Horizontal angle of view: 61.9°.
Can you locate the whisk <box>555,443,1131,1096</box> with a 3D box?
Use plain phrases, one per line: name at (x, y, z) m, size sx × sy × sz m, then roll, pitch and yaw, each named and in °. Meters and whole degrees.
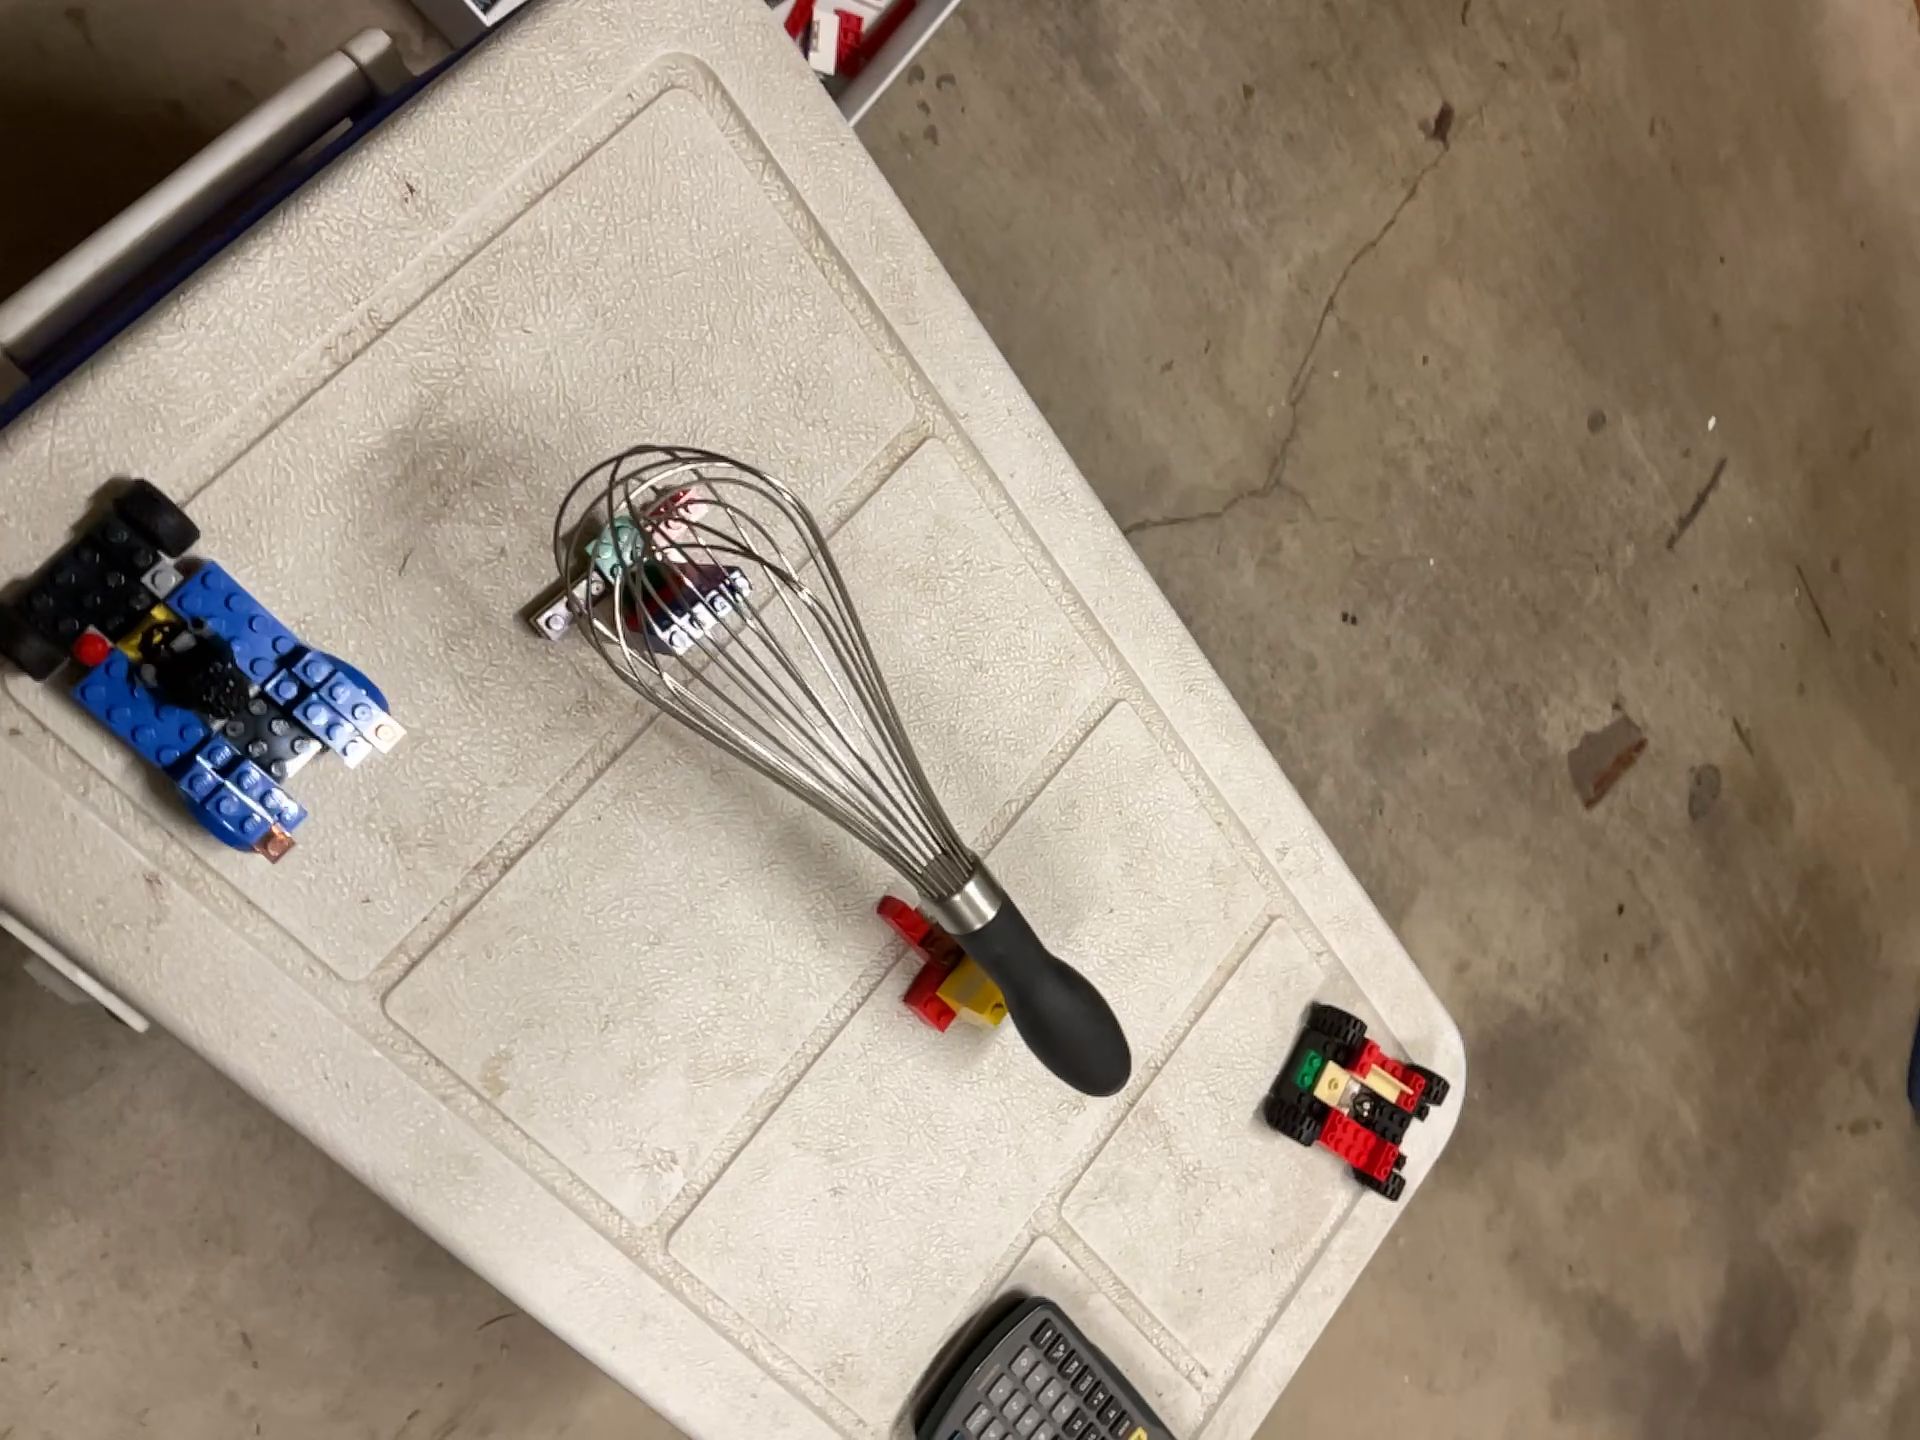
whisk at (-0.015, 0.030, 0.474) m, size 0.070 × 0.070 × 0.284 m, roll -53°, pitch 127°, yaw -22°
